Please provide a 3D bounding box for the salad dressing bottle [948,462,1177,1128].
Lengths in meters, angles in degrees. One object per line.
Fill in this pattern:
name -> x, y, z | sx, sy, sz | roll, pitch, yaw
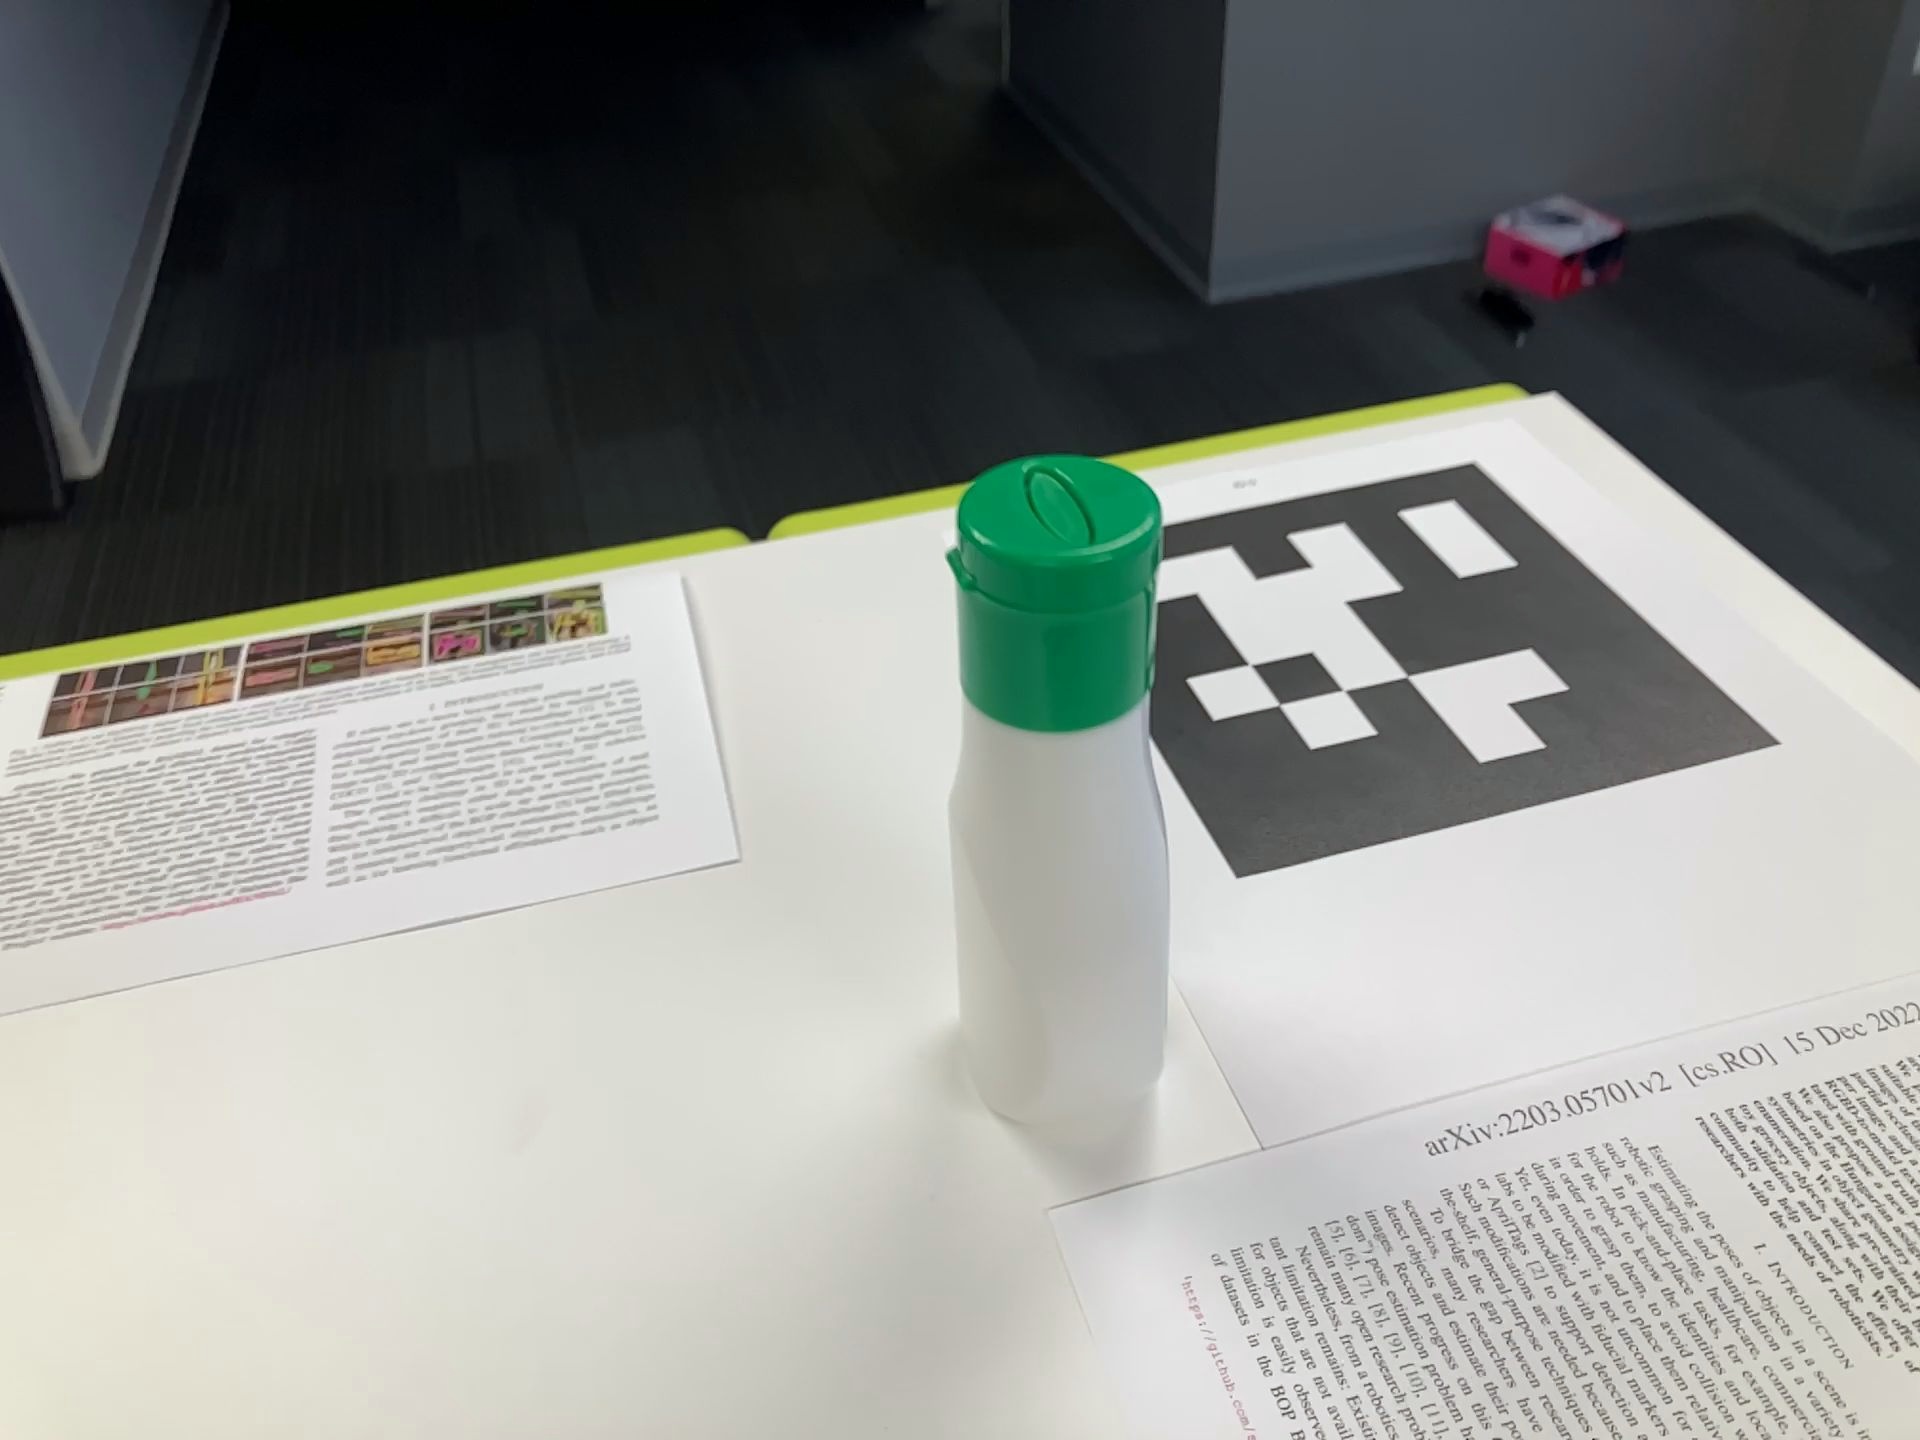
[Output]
salad dressing bottle -> 0.021, 0.021, 0.320 | 0.044, 0.147, 0.064 | -12, 41, -10
